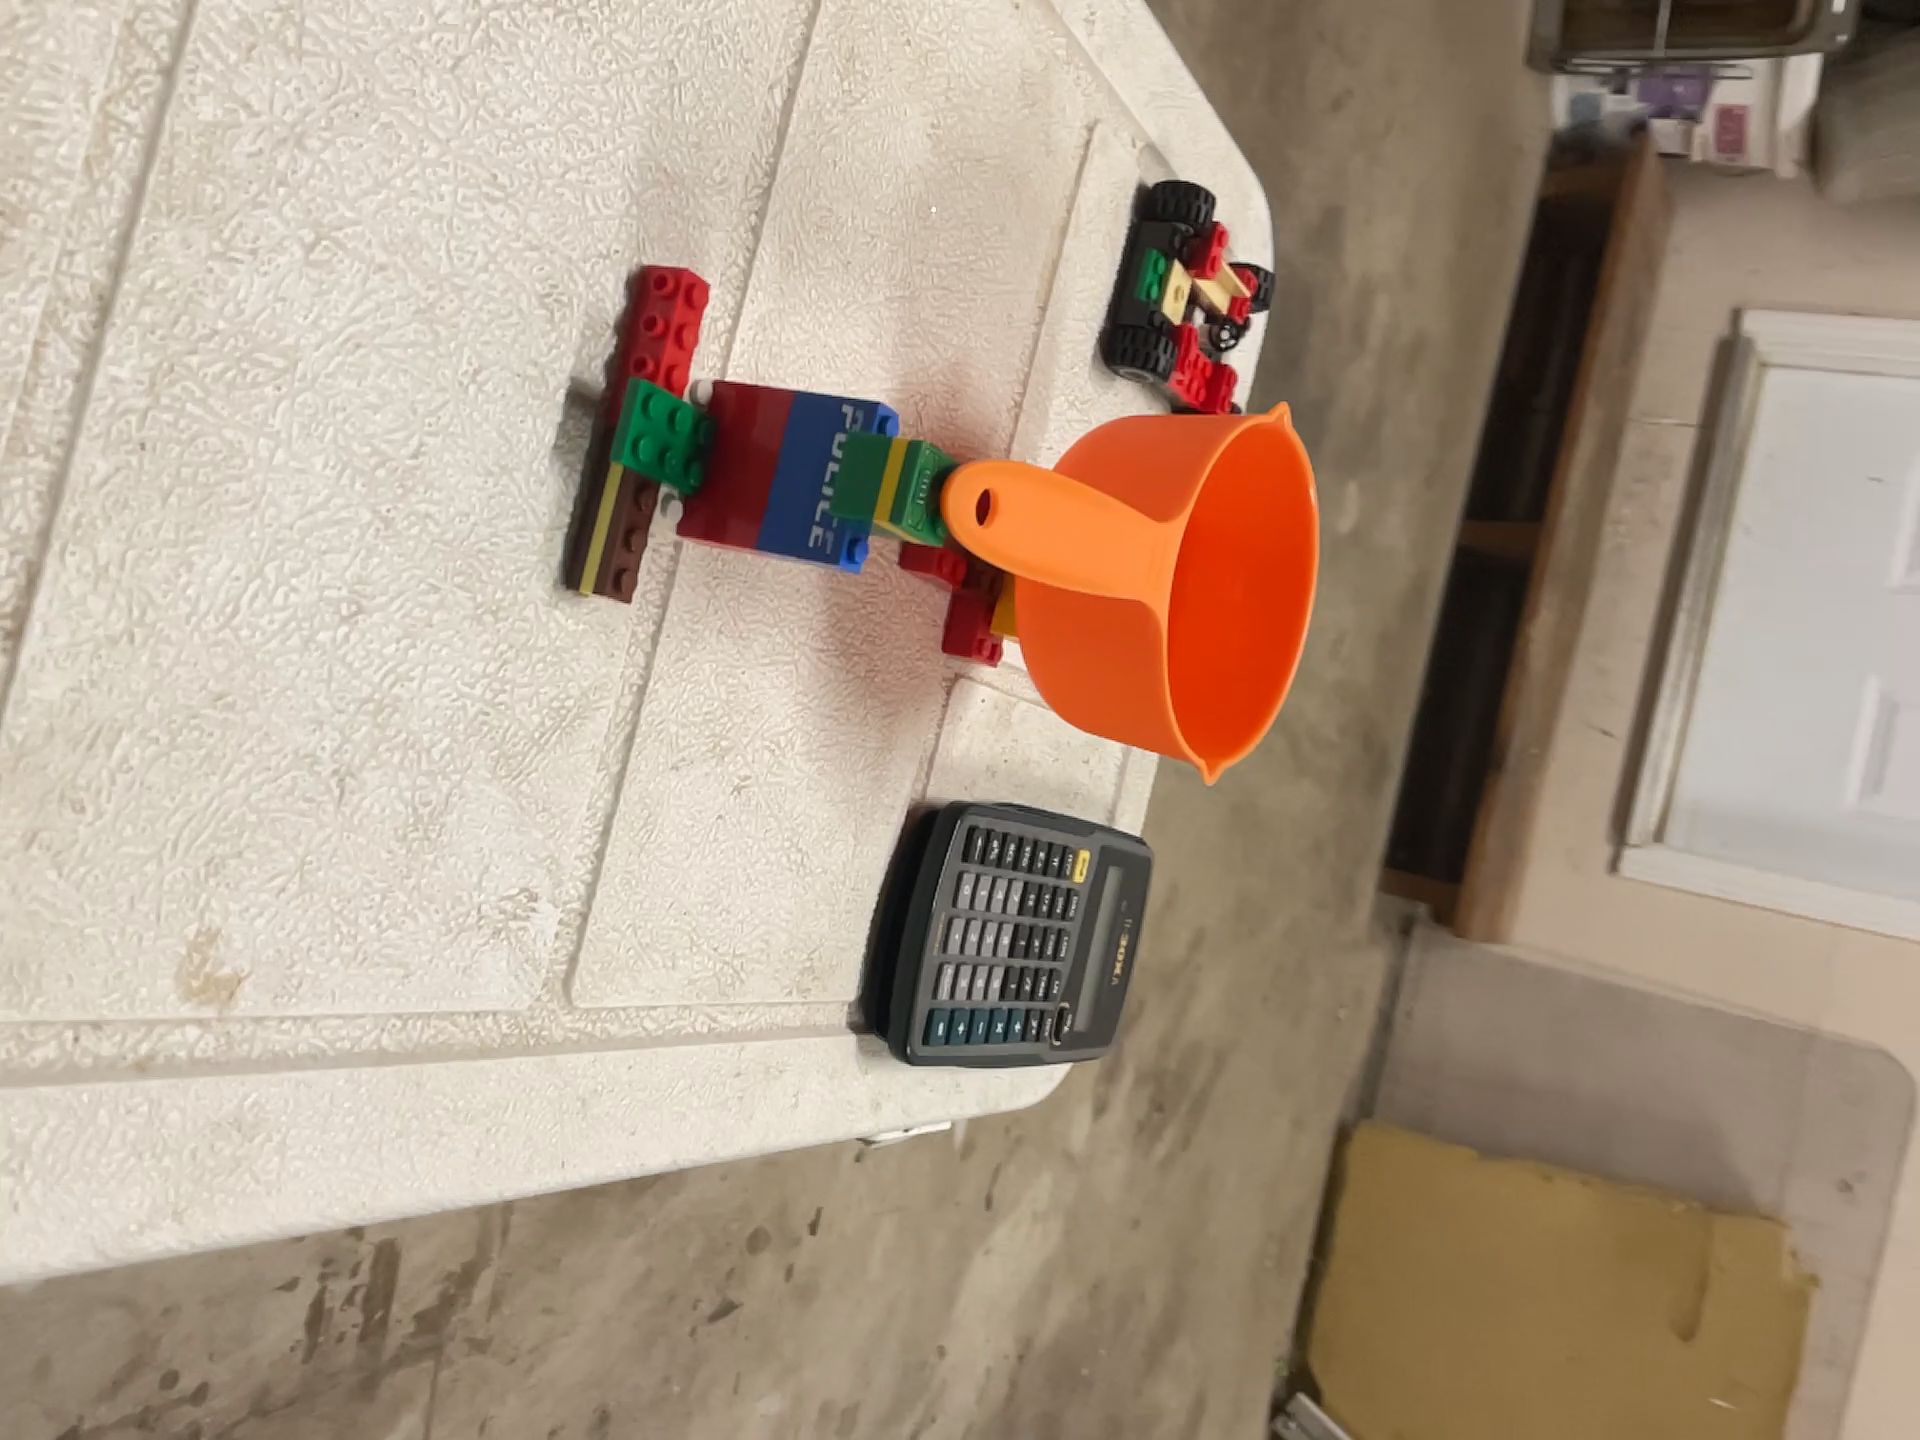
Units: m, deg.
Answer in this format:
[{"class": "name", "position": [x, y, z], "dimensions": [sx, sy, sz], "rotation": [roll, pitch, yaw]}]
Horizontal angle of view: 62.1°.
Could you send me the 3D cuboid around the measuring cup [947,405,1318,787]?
[{"class": "measuring cup", "position": [0.028, -0.038, 0.371], "dimensions": [0.173, 0.052, 0.095], "rotation": [8, 93, -57]}]
